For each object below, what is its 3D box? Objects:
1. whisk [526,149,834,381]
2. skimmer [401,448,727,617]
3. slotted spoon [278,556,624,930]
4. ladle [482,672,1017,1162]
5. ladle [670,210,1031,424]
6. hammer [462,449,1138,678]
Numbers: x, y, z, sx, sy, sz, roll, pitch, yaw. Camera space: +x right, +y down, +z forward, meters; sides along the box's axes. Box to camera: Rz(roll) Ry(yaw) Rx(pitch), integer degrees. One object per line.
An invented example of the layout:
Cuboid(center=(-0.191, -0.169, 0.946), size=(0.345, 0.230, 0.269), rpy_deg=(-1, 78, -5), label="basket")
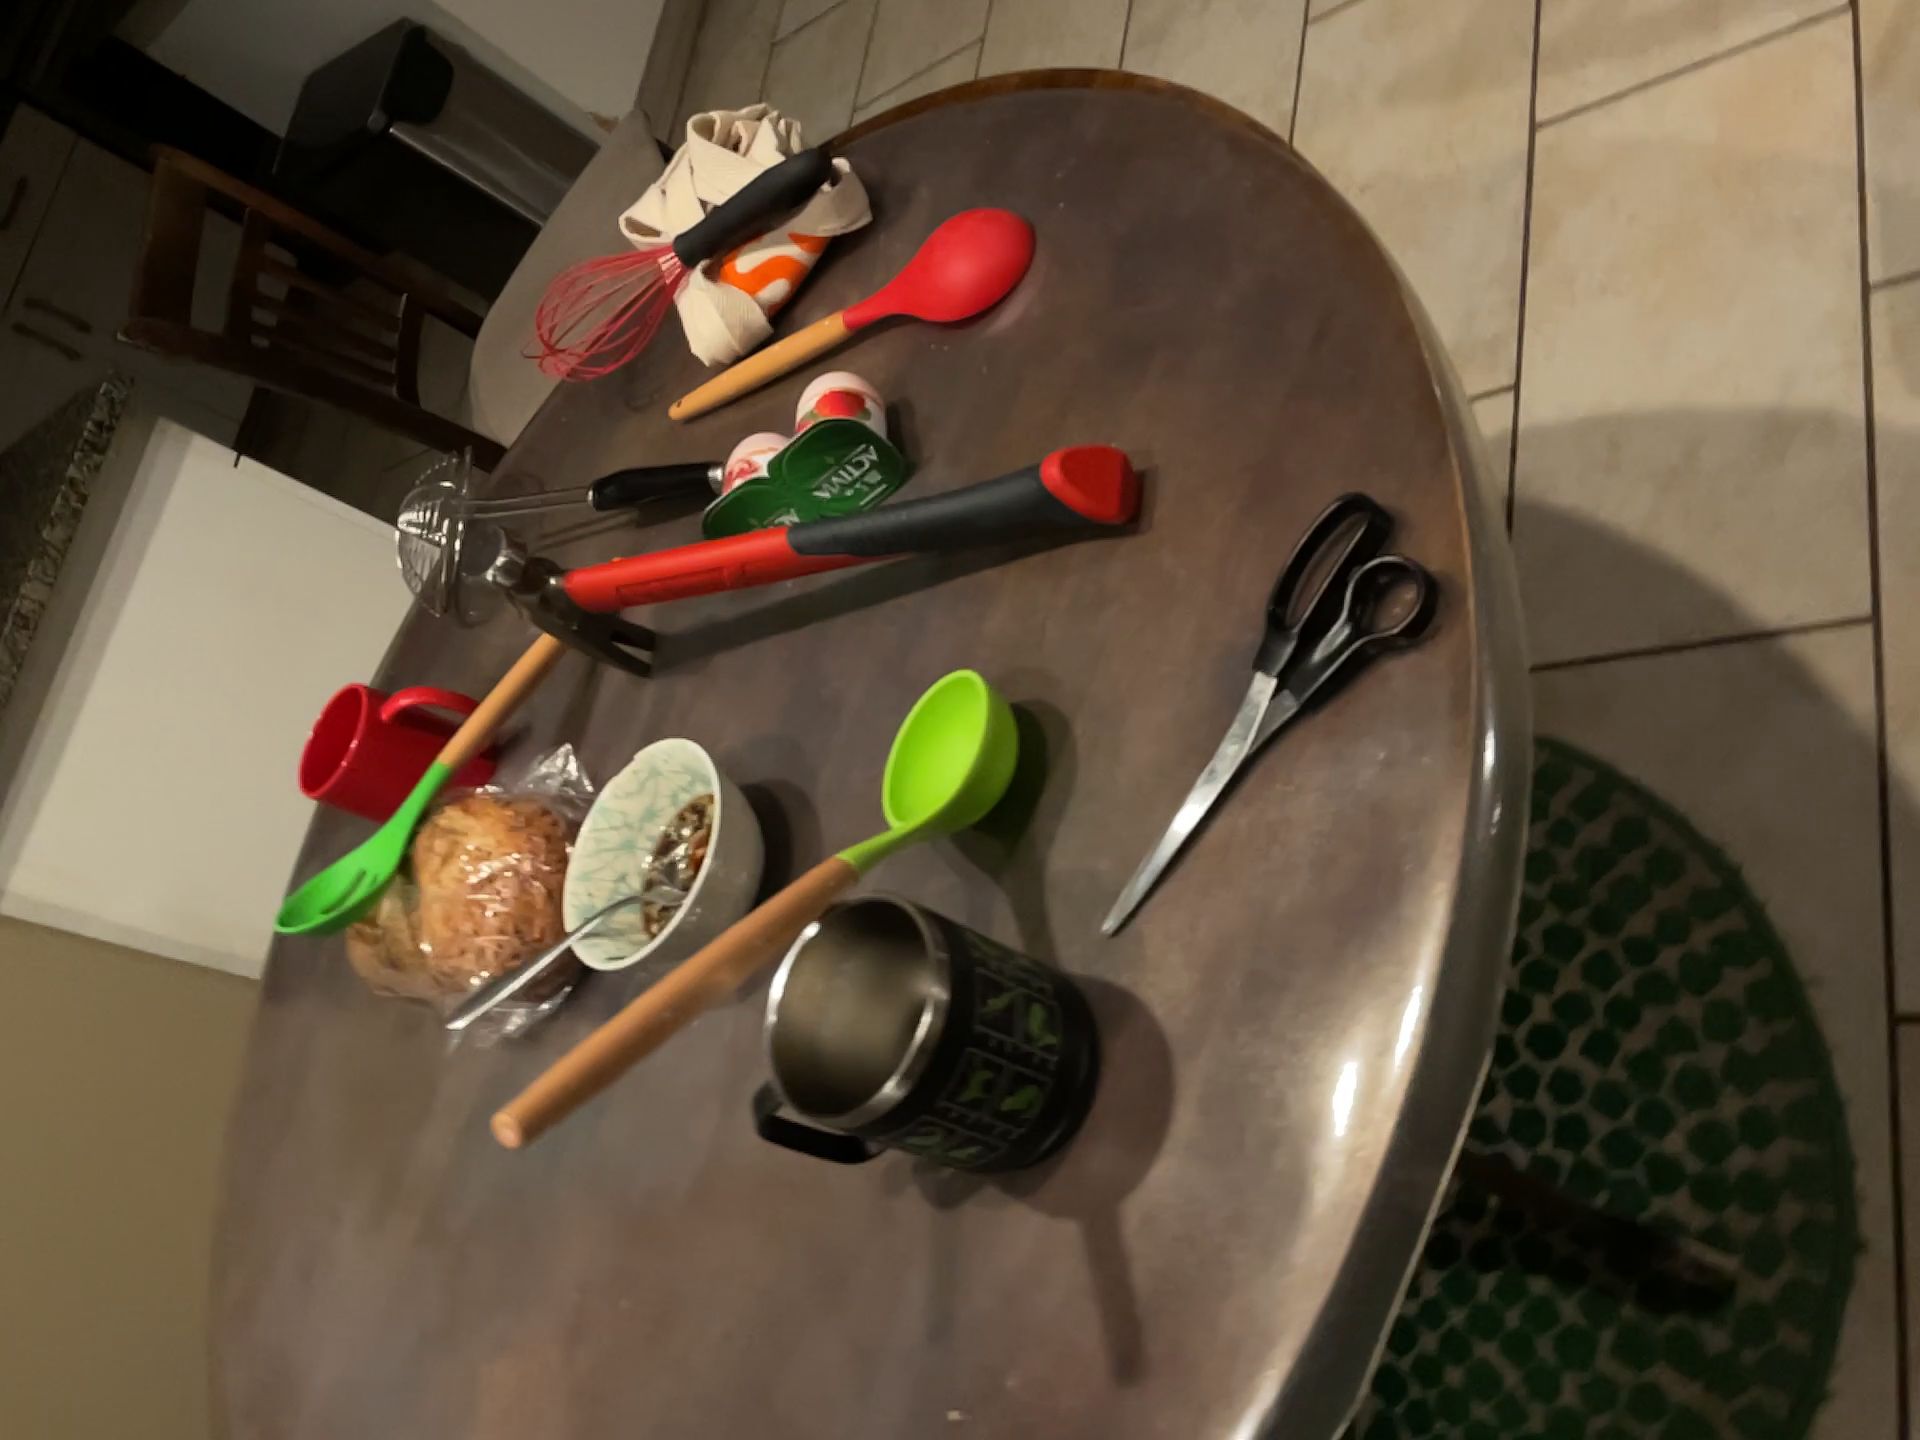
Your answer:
Cuboid(center=(-0.188, -0.295, 1.030), size=(0.296, 0.073, 0.073), rpy_deg=(-19, 54, 38), label="whisk")
Cuboid(center=(-0.270, -0.141, 1.104), size=(0.363, 0.090, 0.127), rpy_deg=(0, 76, 35), label="skimmer")
Cuboid(center=(-0.295, 0.009, 0.969), size=(0.070, 0.031, 0.314), rpy_deg=(2, 48, 43), label="slotted spoon")
Cuboid(center=(-0.069, 0.063, 0.611), size=(0.062, 0.320, 0.078), rpy_deg=(51, 128, 3), label="ladle")
Cuboid(center=(-0.082, -0.234, 0.962), size=(0.315, 0.031, 0.069), rpy_deg=(-14, 58, 44), label="ladle")
Cuboid(center=(-0.079, -0.081, 0.836), size=(0.386, 0.143, 0.038), rpy_deg=(-6, 65, 32), label="hammer")
